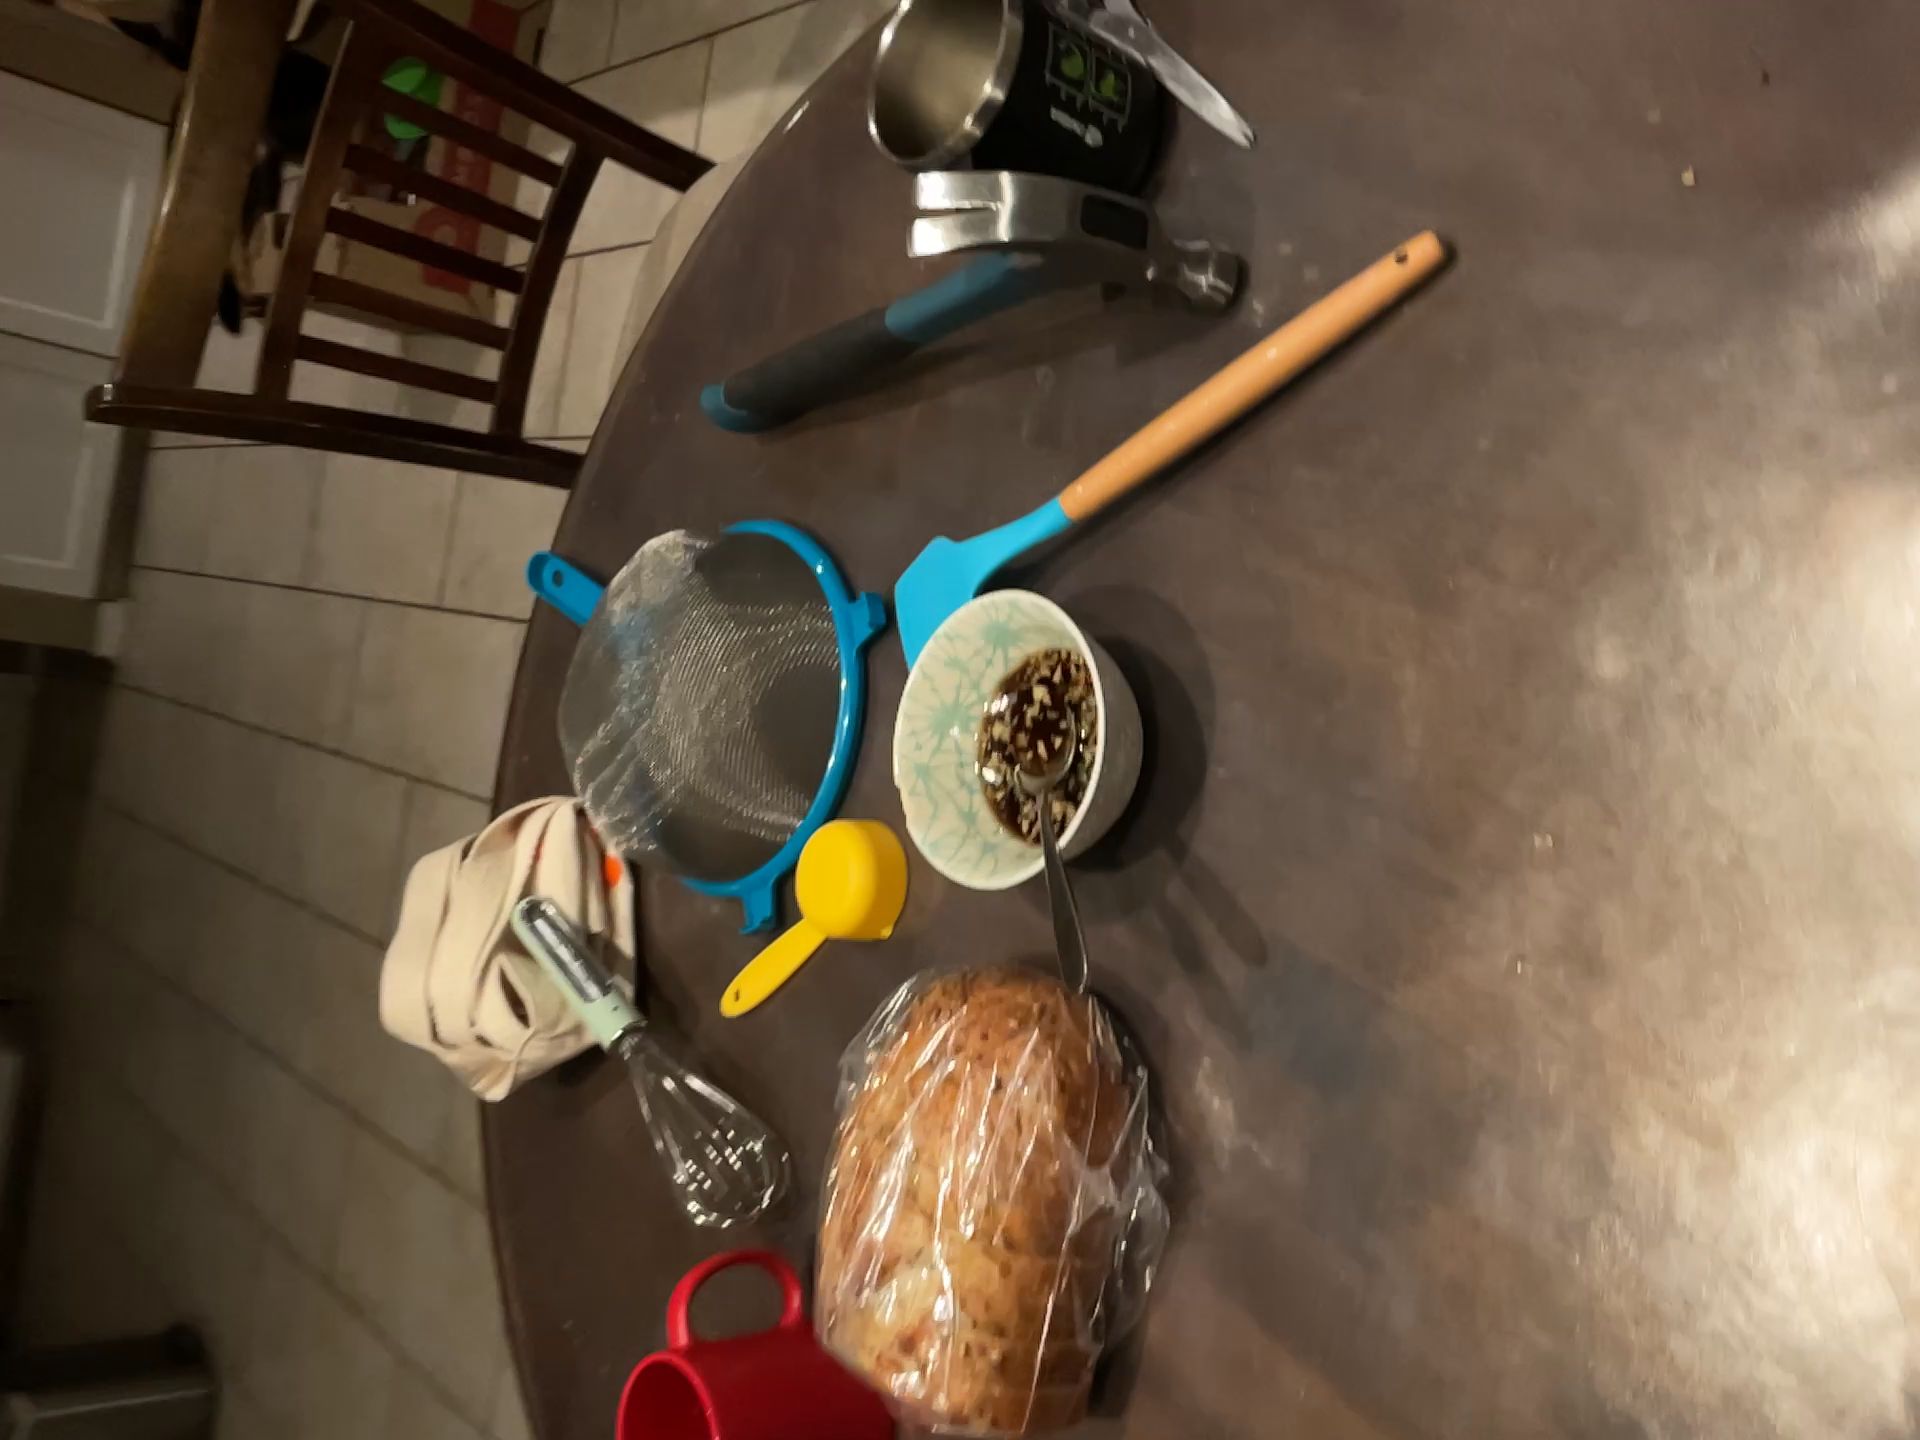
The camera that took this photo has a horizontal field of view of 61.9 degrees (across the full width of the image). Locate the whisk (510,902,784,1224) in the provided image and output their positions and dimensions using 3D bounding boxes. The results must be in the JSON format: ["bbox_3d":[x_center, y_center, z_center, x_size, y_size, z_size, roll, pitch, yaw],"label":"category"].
[{"bbox_3d":[-0.175,0.176,0.858,0.246,0.058,0.059,41,143,33],"label":"whisk"}]

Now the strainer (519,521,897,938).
[{"bbox_3d":[-0.192,-0.036,0.902,0.340,0.095,0.211,31,105,40],"label":"strainer"}]

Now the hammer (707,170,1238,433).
[{"bbox_3d":[-0.029,-0.186,0.766,0.331,0.128,0.033,-7,75,55],"label":"hammer"}]

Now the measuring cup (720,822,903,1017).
[{"bbox_3d":[-0.087,0.108,0.811,0.156,0.029,0.062,-44,54,30],"label":"measuring cup"}]

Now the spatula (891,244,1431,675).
[{"bbox_3d":[0.069,-0.102,0.695,0.317,0.044,0.082,-33,60,33],"label":"spatula"}]
